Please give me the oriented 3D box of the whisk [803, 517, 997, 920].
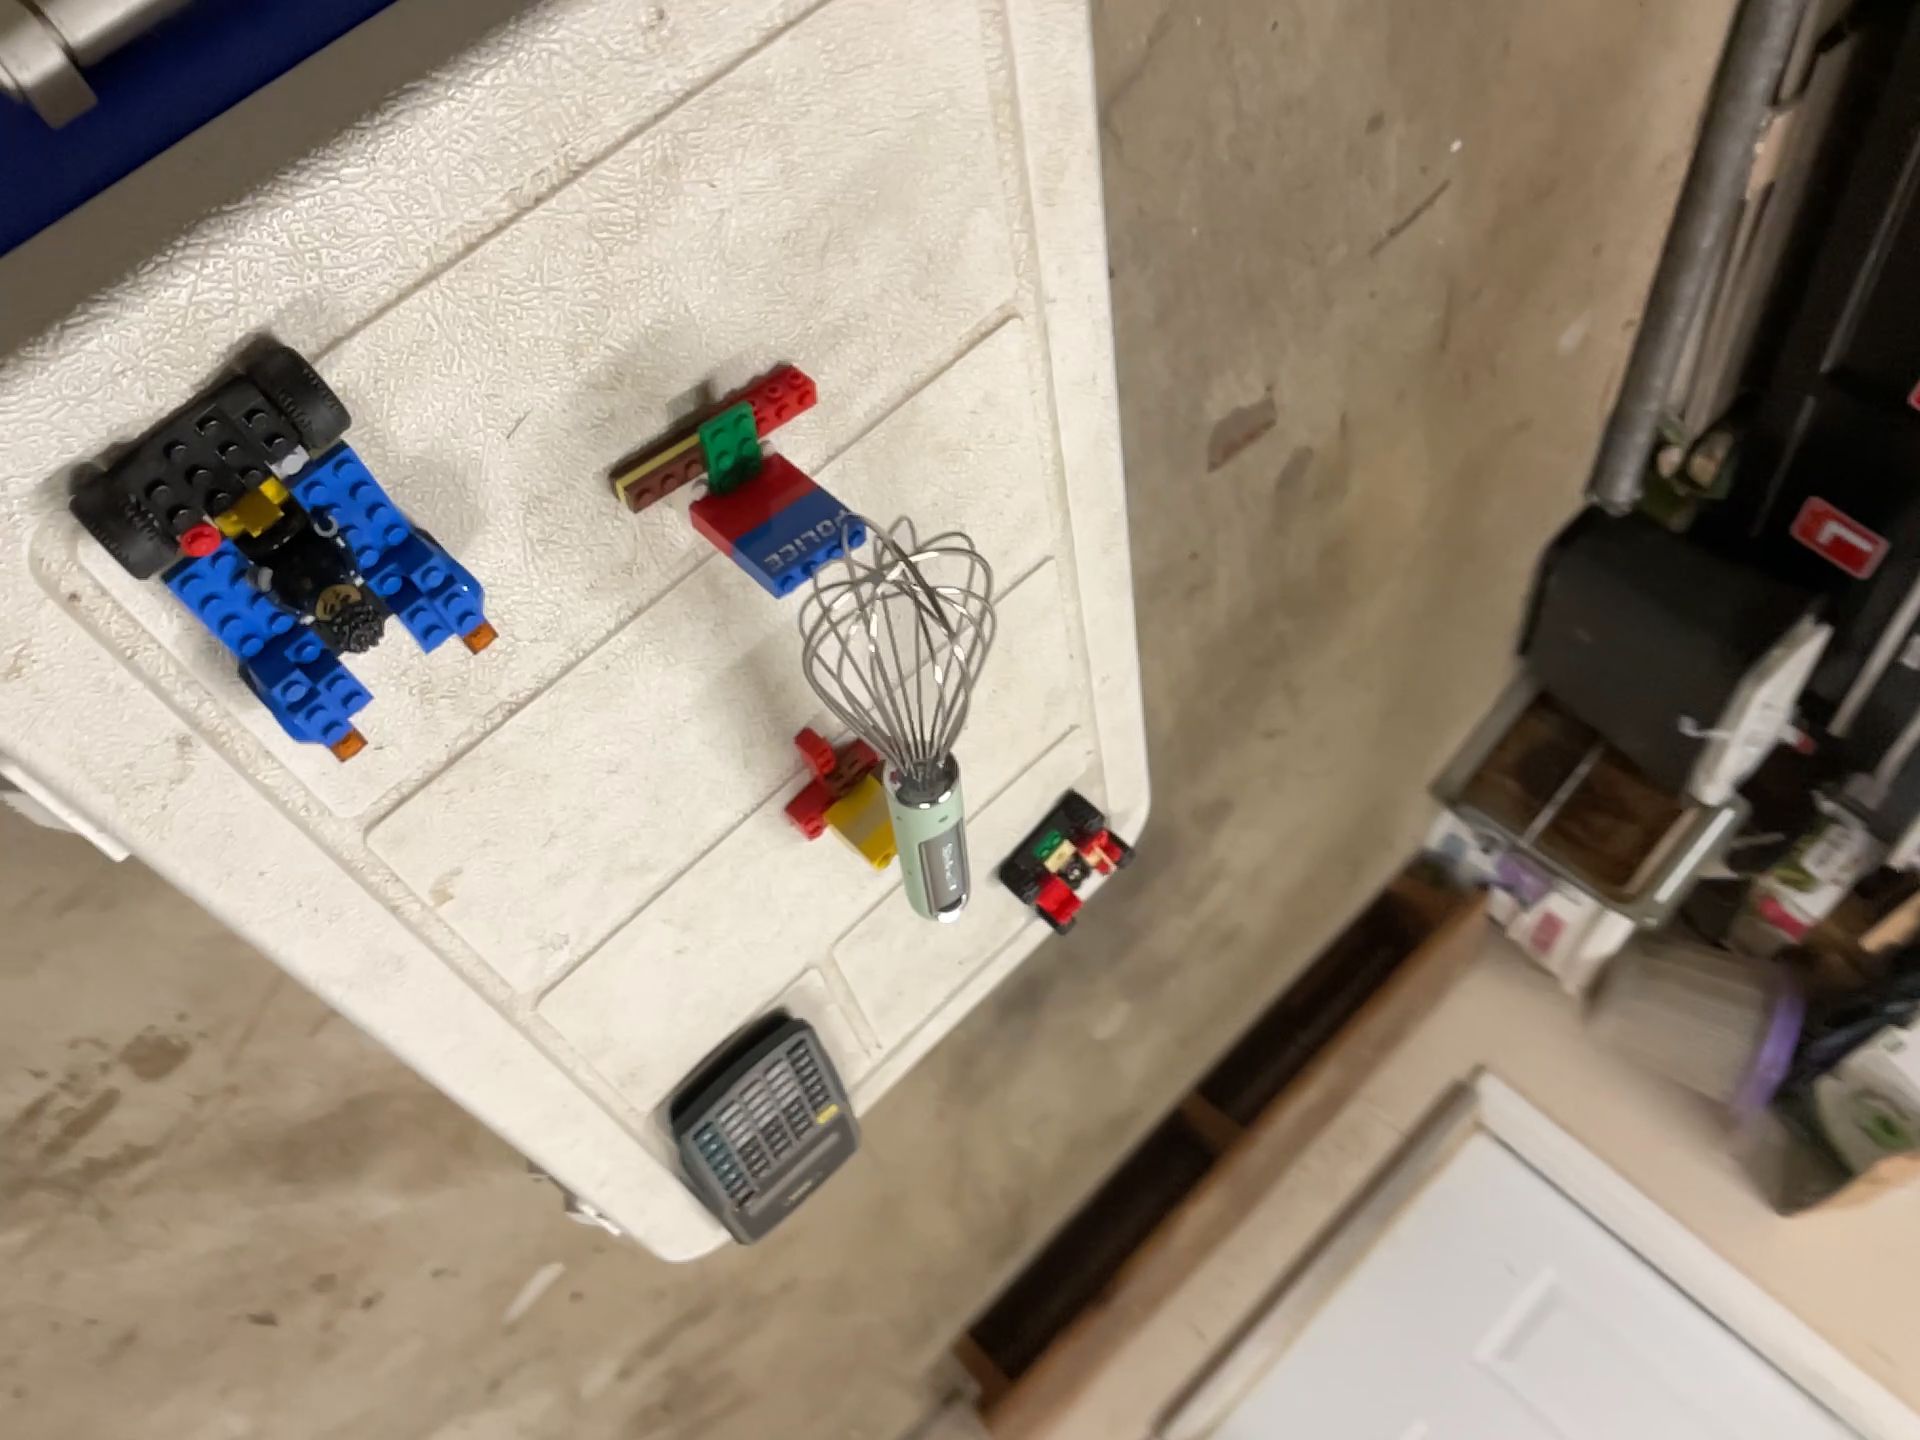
[{"bbox_3d":[-0.013,0.014,0.509,0.058,0.059,0.246,-34,157,-14],"label":"whisk"}]
